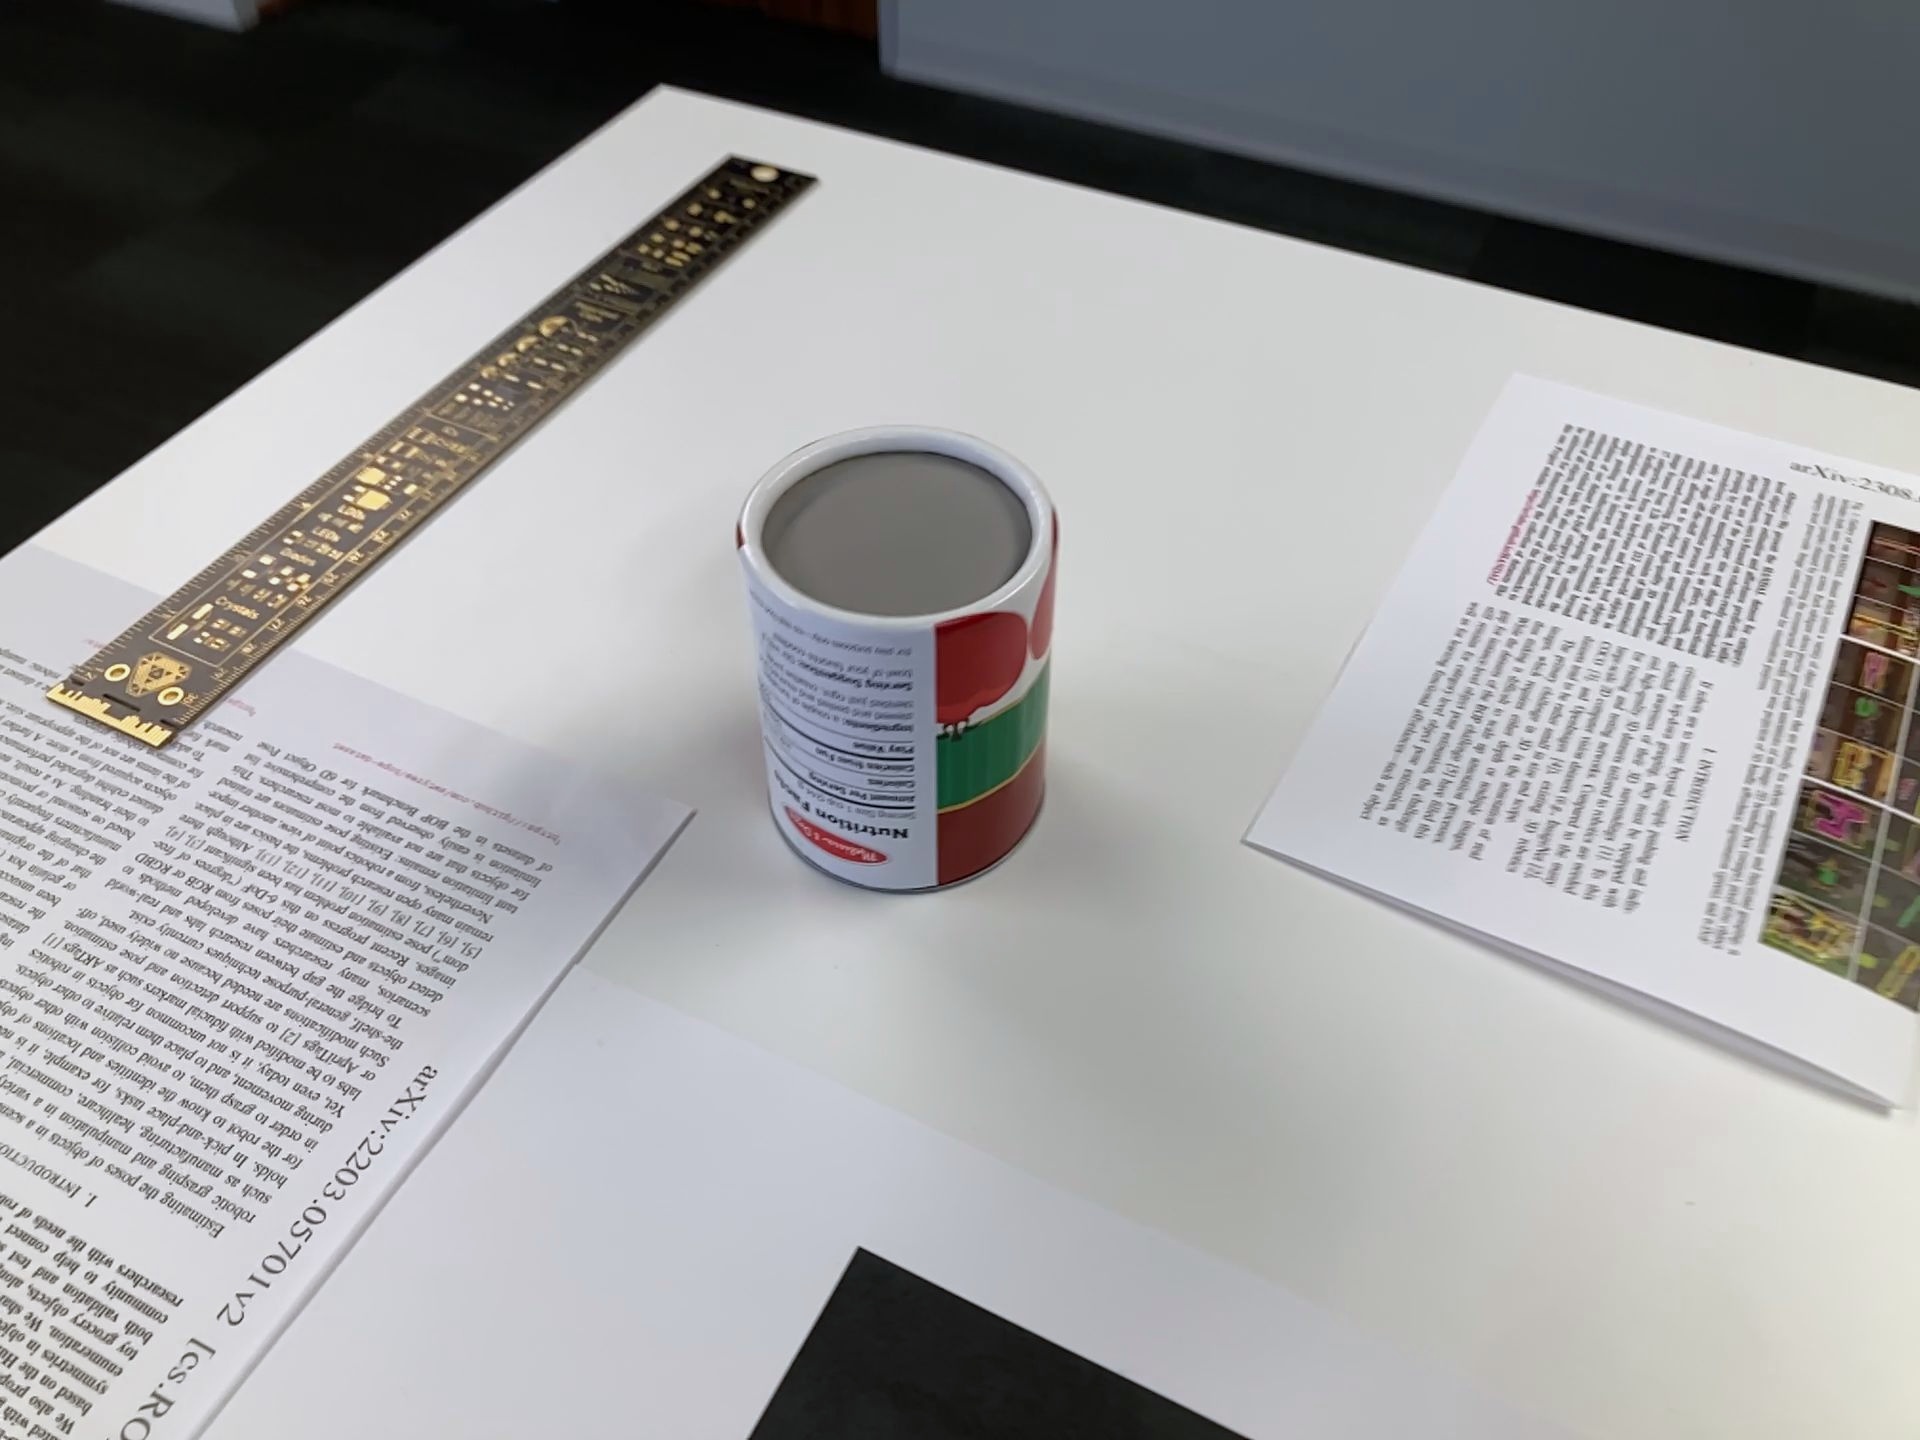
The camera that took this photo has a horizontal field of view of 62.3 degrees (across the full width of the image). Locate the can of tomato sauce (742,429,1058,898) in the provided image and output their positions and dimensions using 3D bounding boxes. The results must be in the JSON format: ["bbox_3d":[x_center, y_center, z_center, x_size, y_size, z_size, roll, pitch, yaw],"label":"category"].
[{"bbox_3d":[-0.011,-0.014,0.355,0.071,0.083,0.071,-1,45,1],"label":"can of tomato sauce"}]
